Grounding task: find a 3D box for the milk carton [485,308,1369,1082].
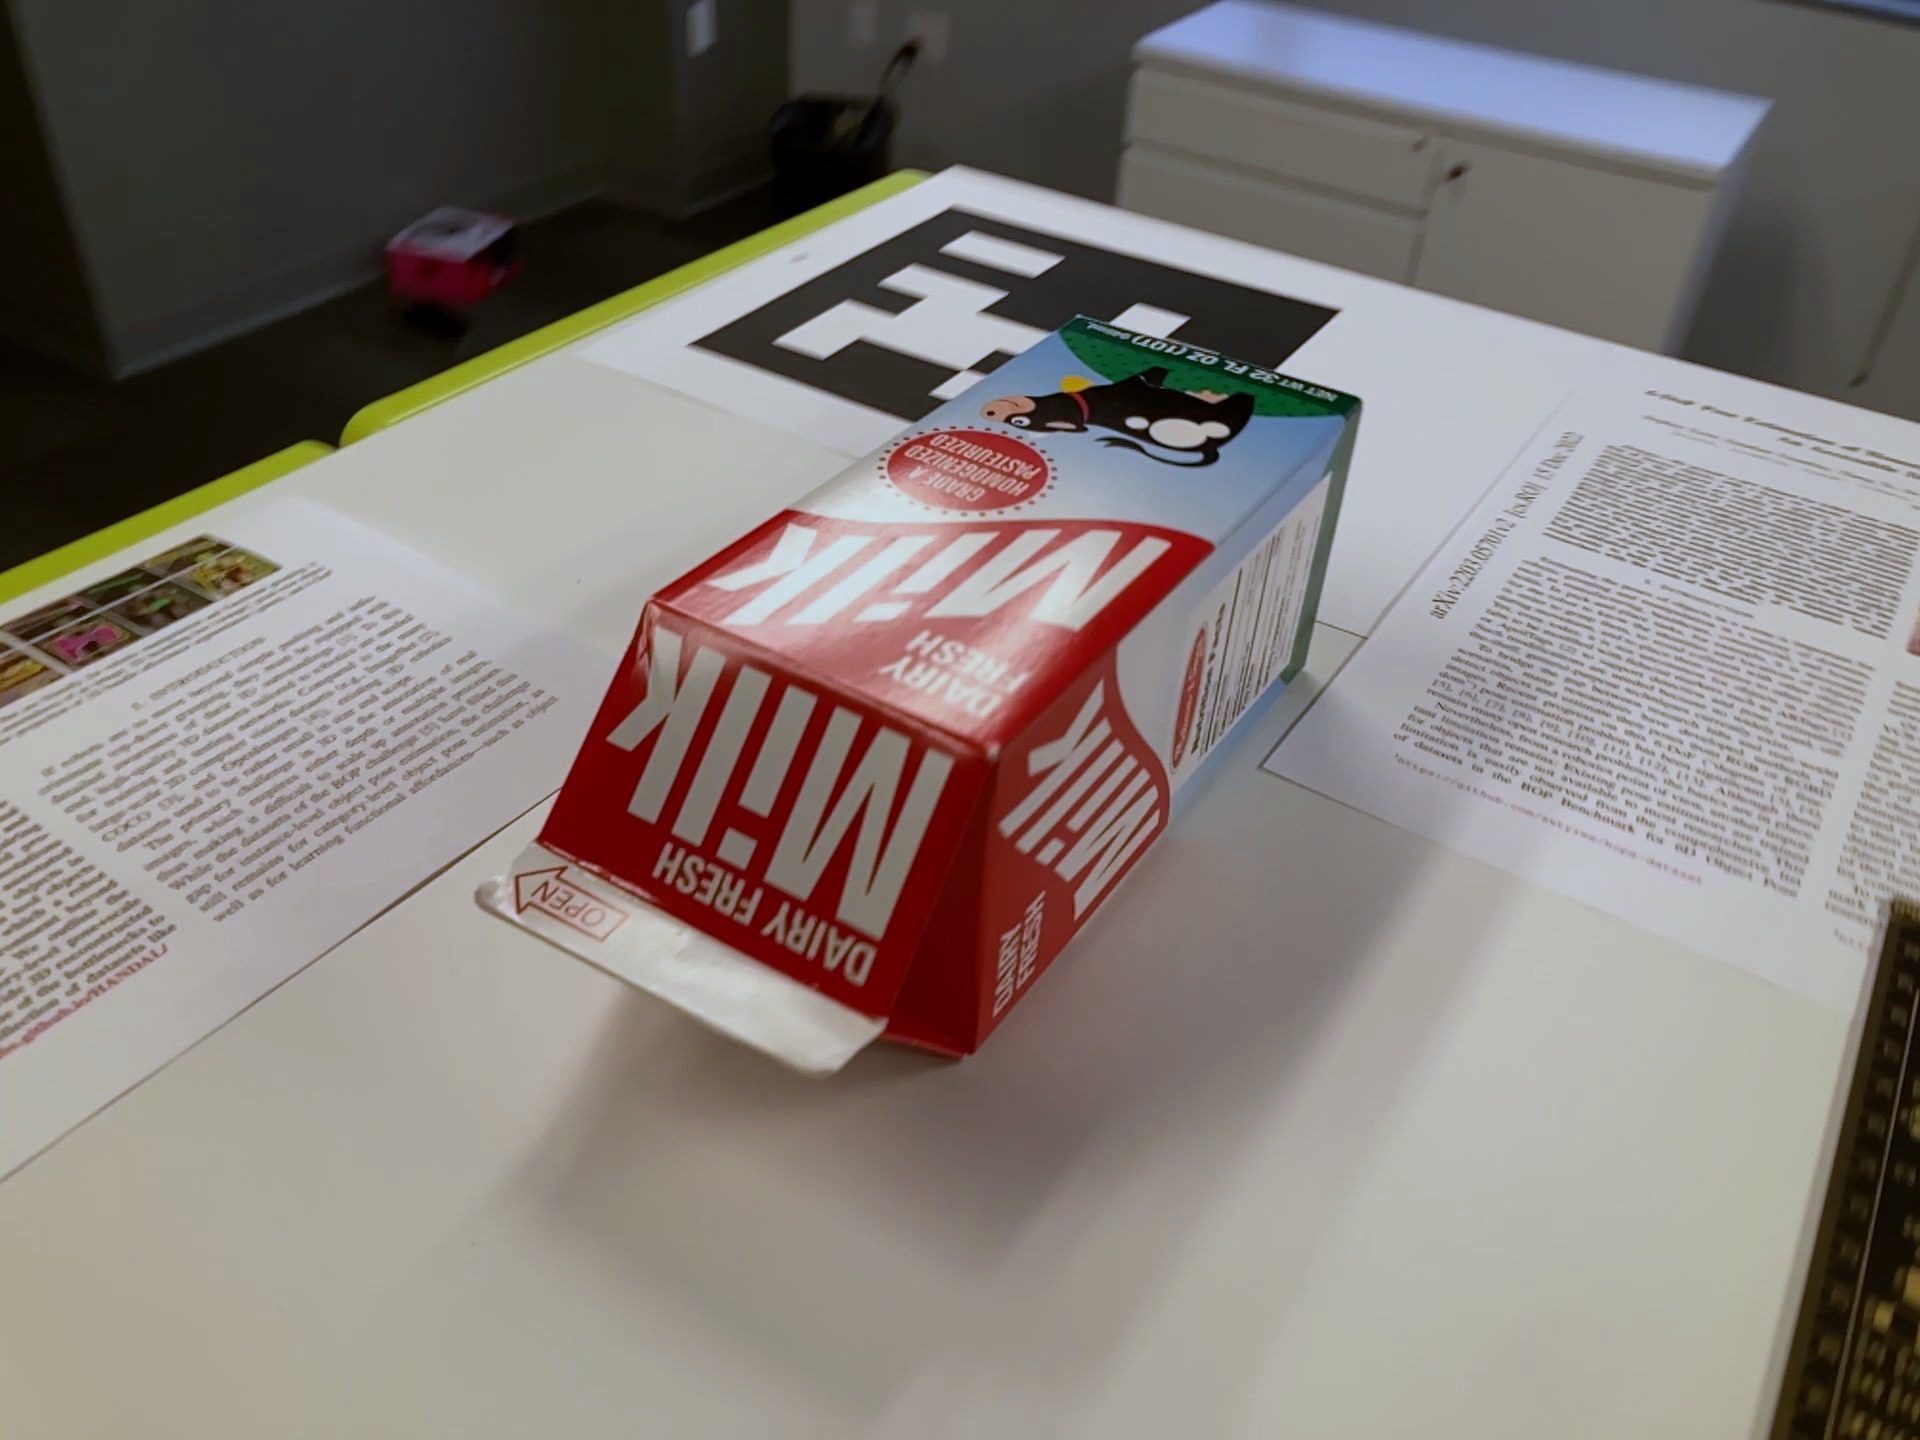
[{"bbox_3d":[0.004,-0.007,0.306,0.072,0.073,0.190,24,43,23],"label":"milk carton"}]
